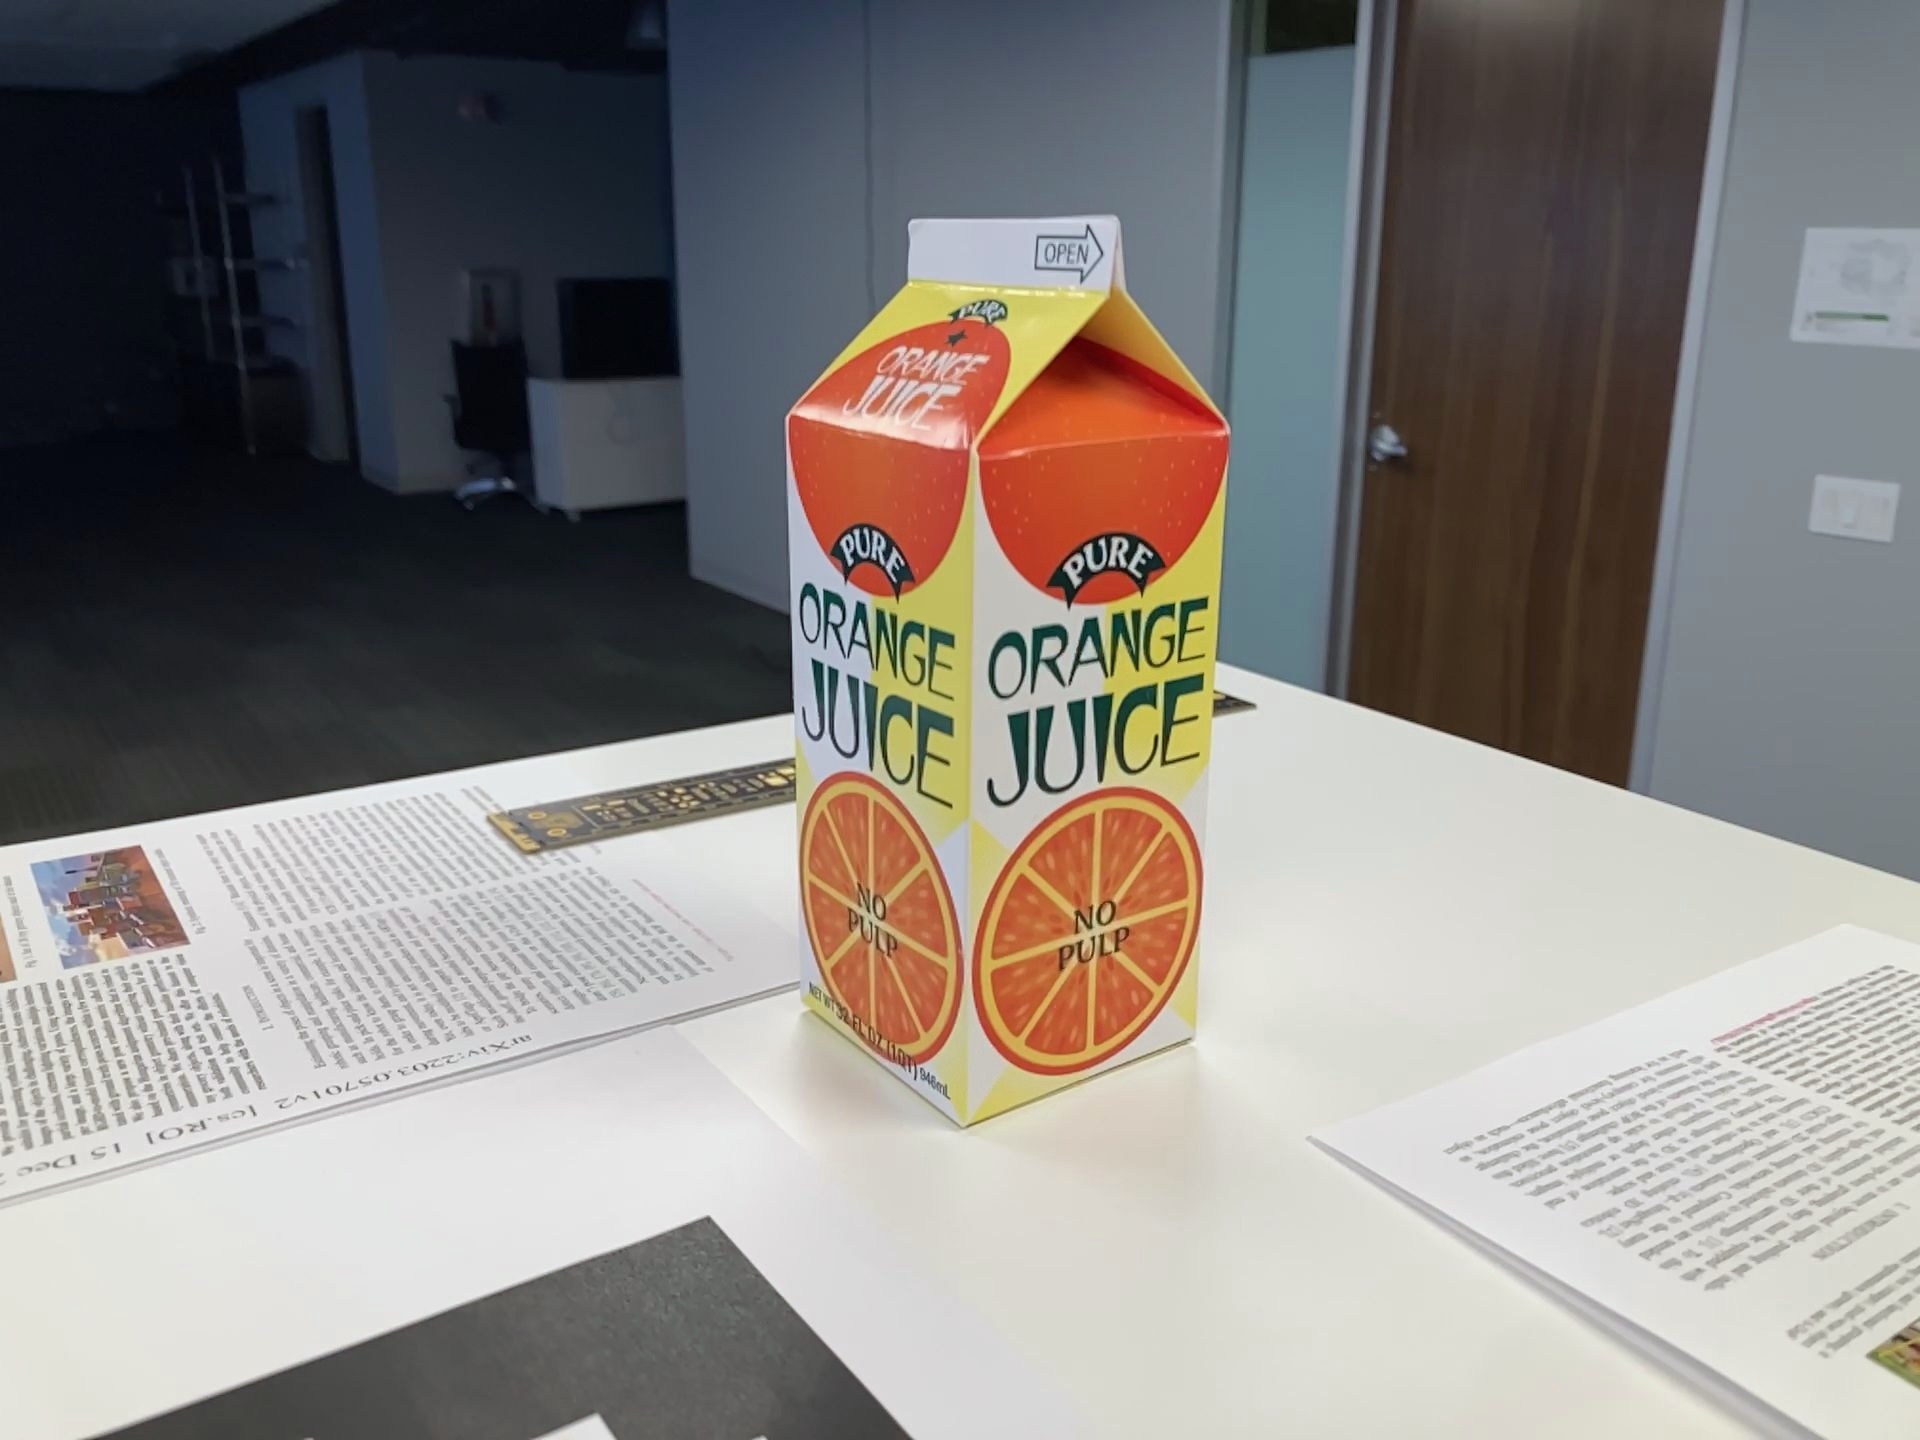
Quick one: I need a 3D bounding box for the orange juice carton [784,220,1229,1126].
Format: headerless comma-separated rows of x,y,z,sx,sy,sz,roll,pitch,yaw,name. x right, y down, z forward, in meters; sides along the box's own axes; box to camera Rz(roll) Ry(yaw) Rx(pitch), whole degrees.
0.009,-0.015,0.367,0.073,0.192,0.072,-12,21,-34,orange juice carton
